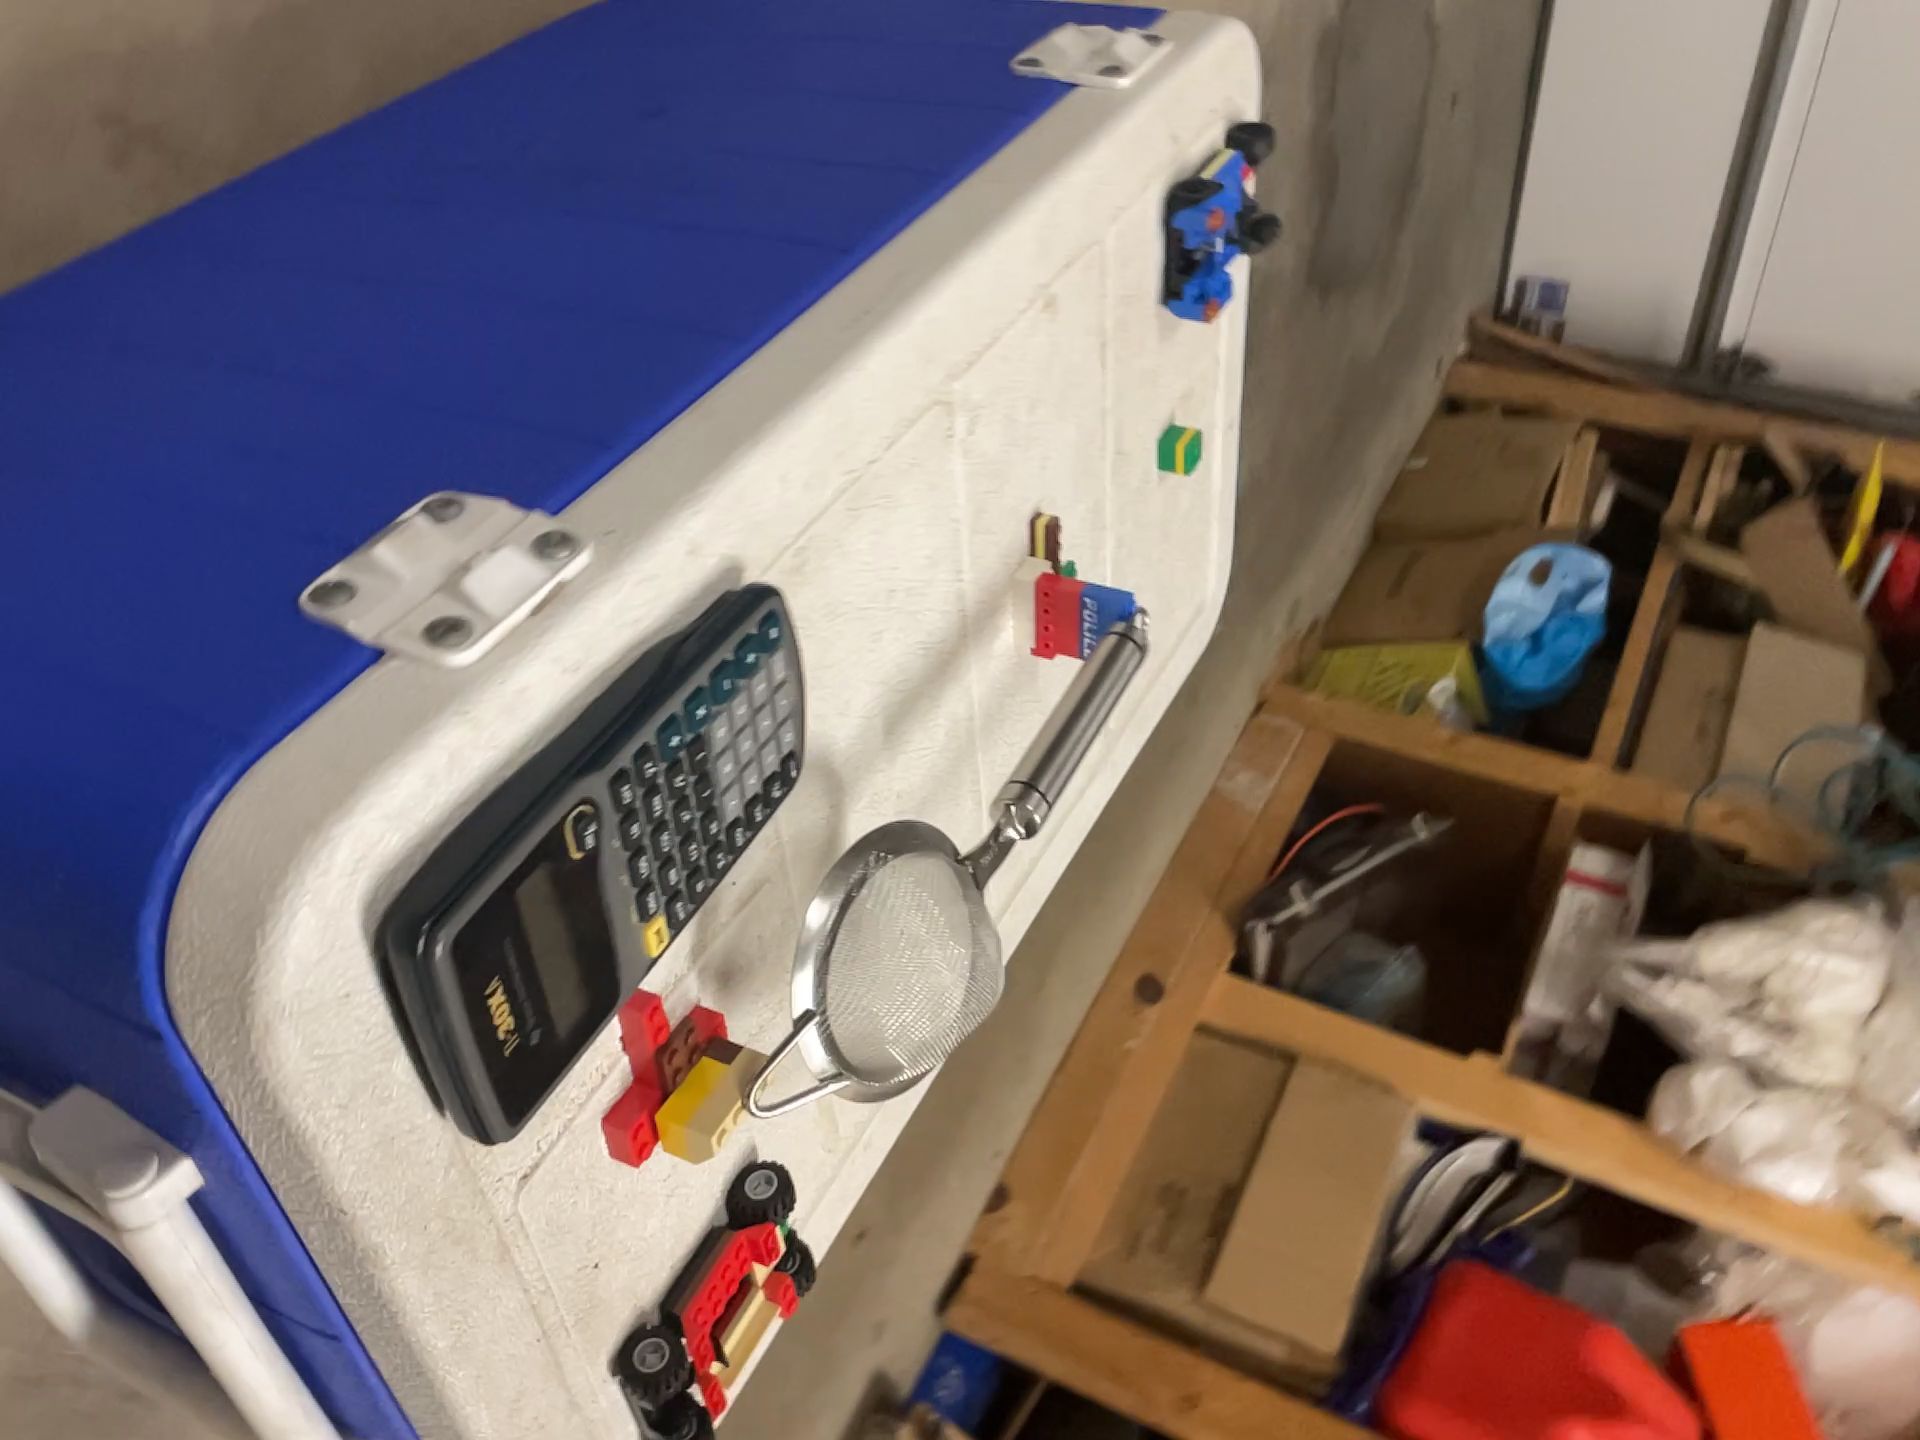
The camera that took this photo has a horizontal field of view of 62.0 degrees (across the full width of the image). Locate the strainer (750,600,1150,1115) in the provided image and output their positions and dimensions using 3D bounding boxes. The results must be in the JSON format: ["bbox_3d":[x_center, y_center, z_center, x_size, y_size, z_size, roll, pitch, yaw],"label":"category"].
[{"bbox_3d":[0.017,0.032,0.525,0.258,0.050,0.086,-54,134,-43],"label":"strainer"}]
